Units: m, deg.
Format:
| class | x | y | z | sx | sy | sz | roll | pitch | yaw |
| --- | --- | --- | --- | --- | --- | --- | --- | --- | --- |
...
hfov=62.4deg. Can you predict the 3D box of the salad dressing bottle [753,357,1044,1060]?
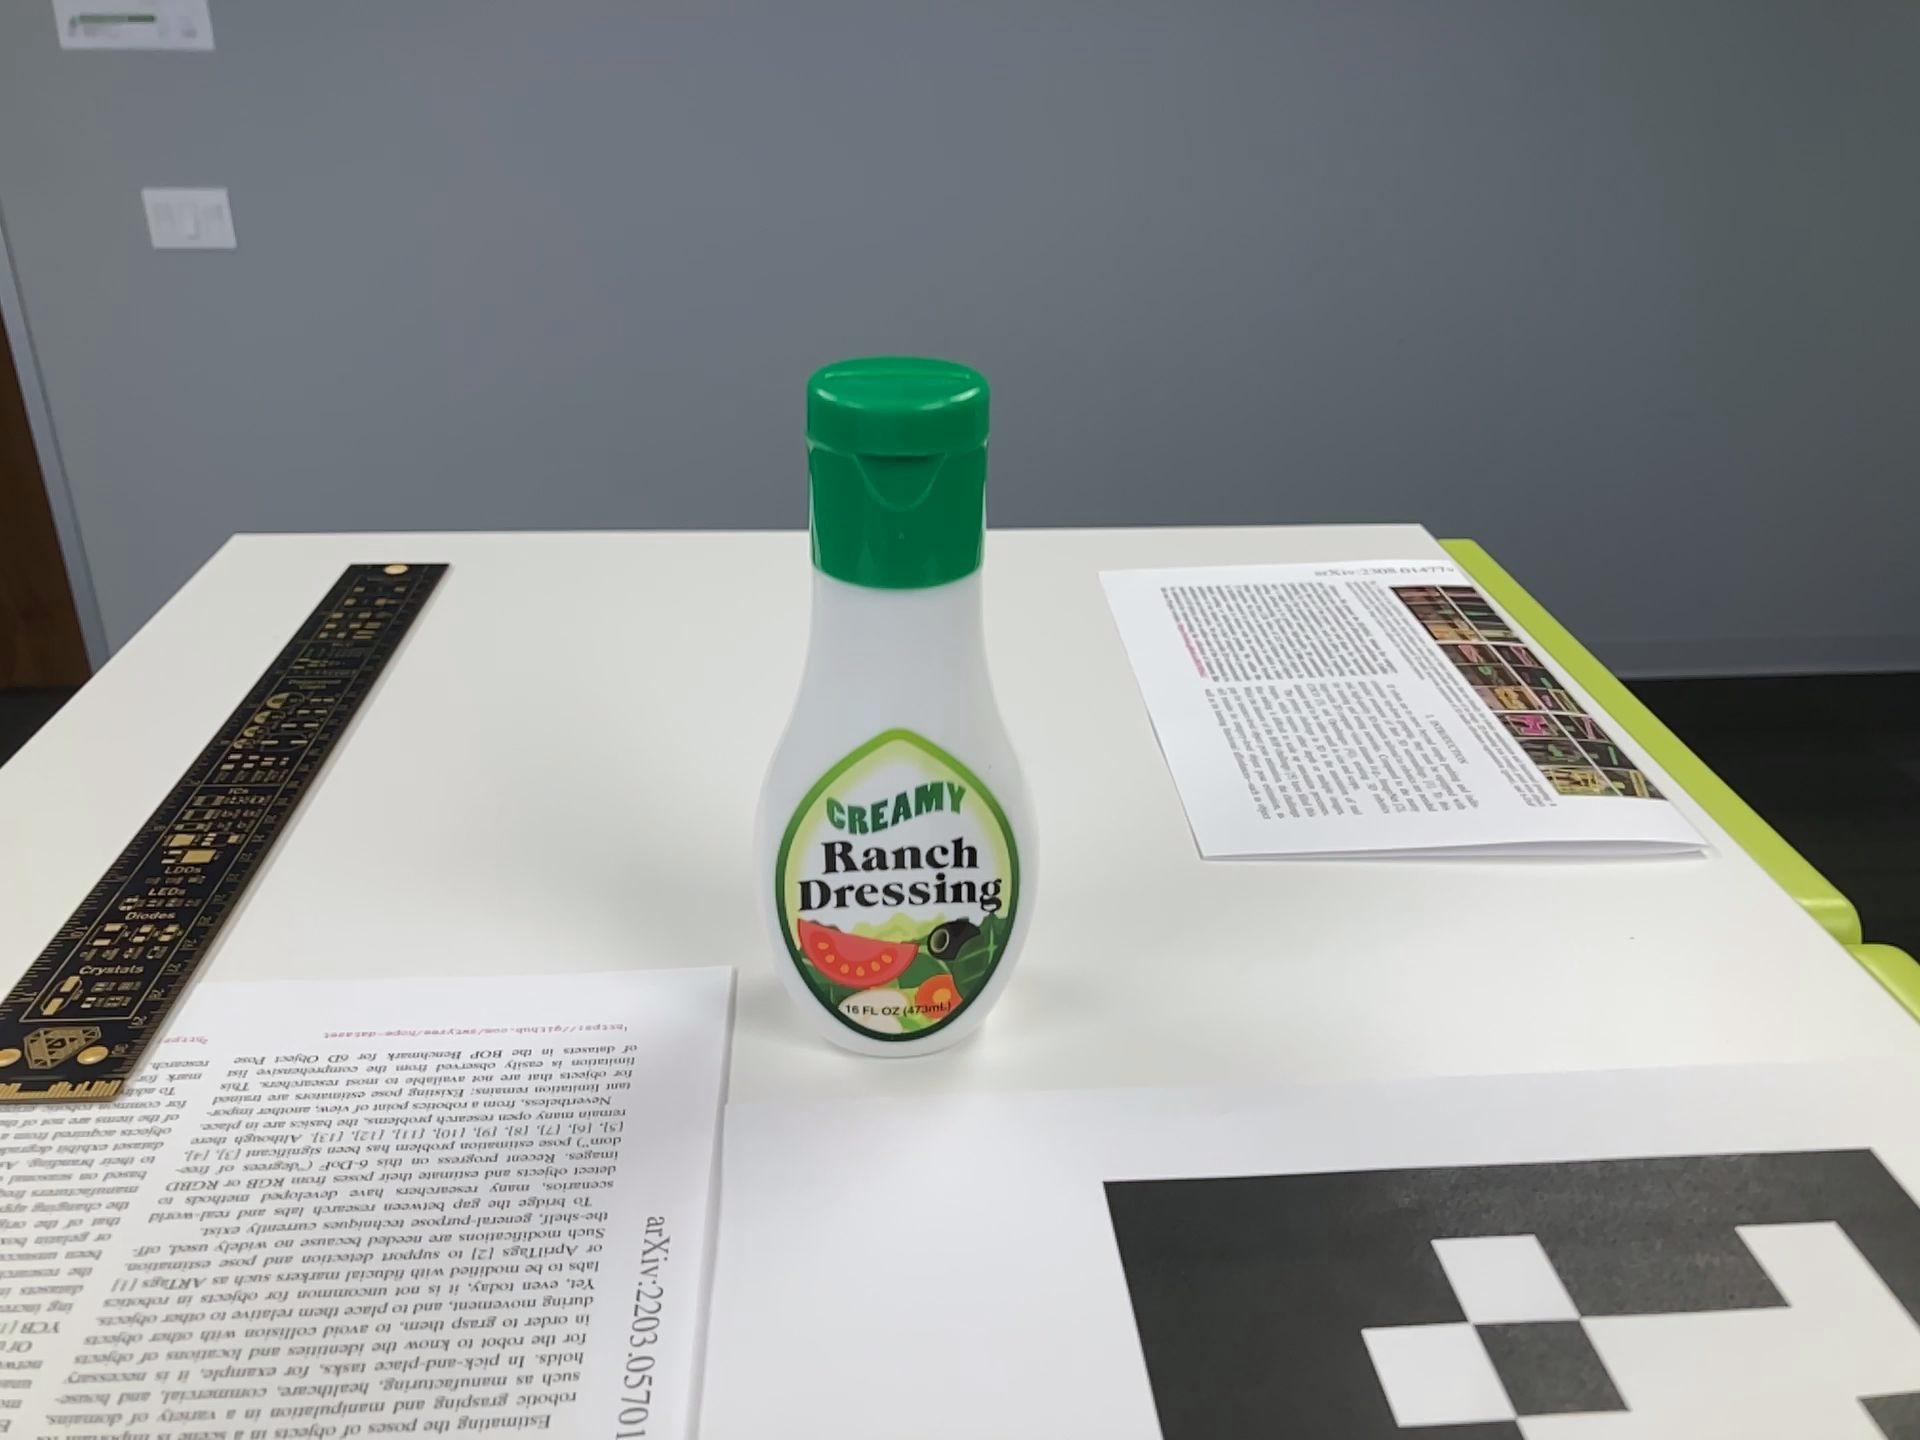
| class | x | y | z | sx | sy | sz | roll | pitch | yaw |
| --- | --- | --- | --- | --- | --- | --- | --- | --- | --- |
| salad dressing bottle | -0.013 | 0.000 | 0.337 | 0.064 | 0.147 | 0.044 | -1 | 25 | -4 |
